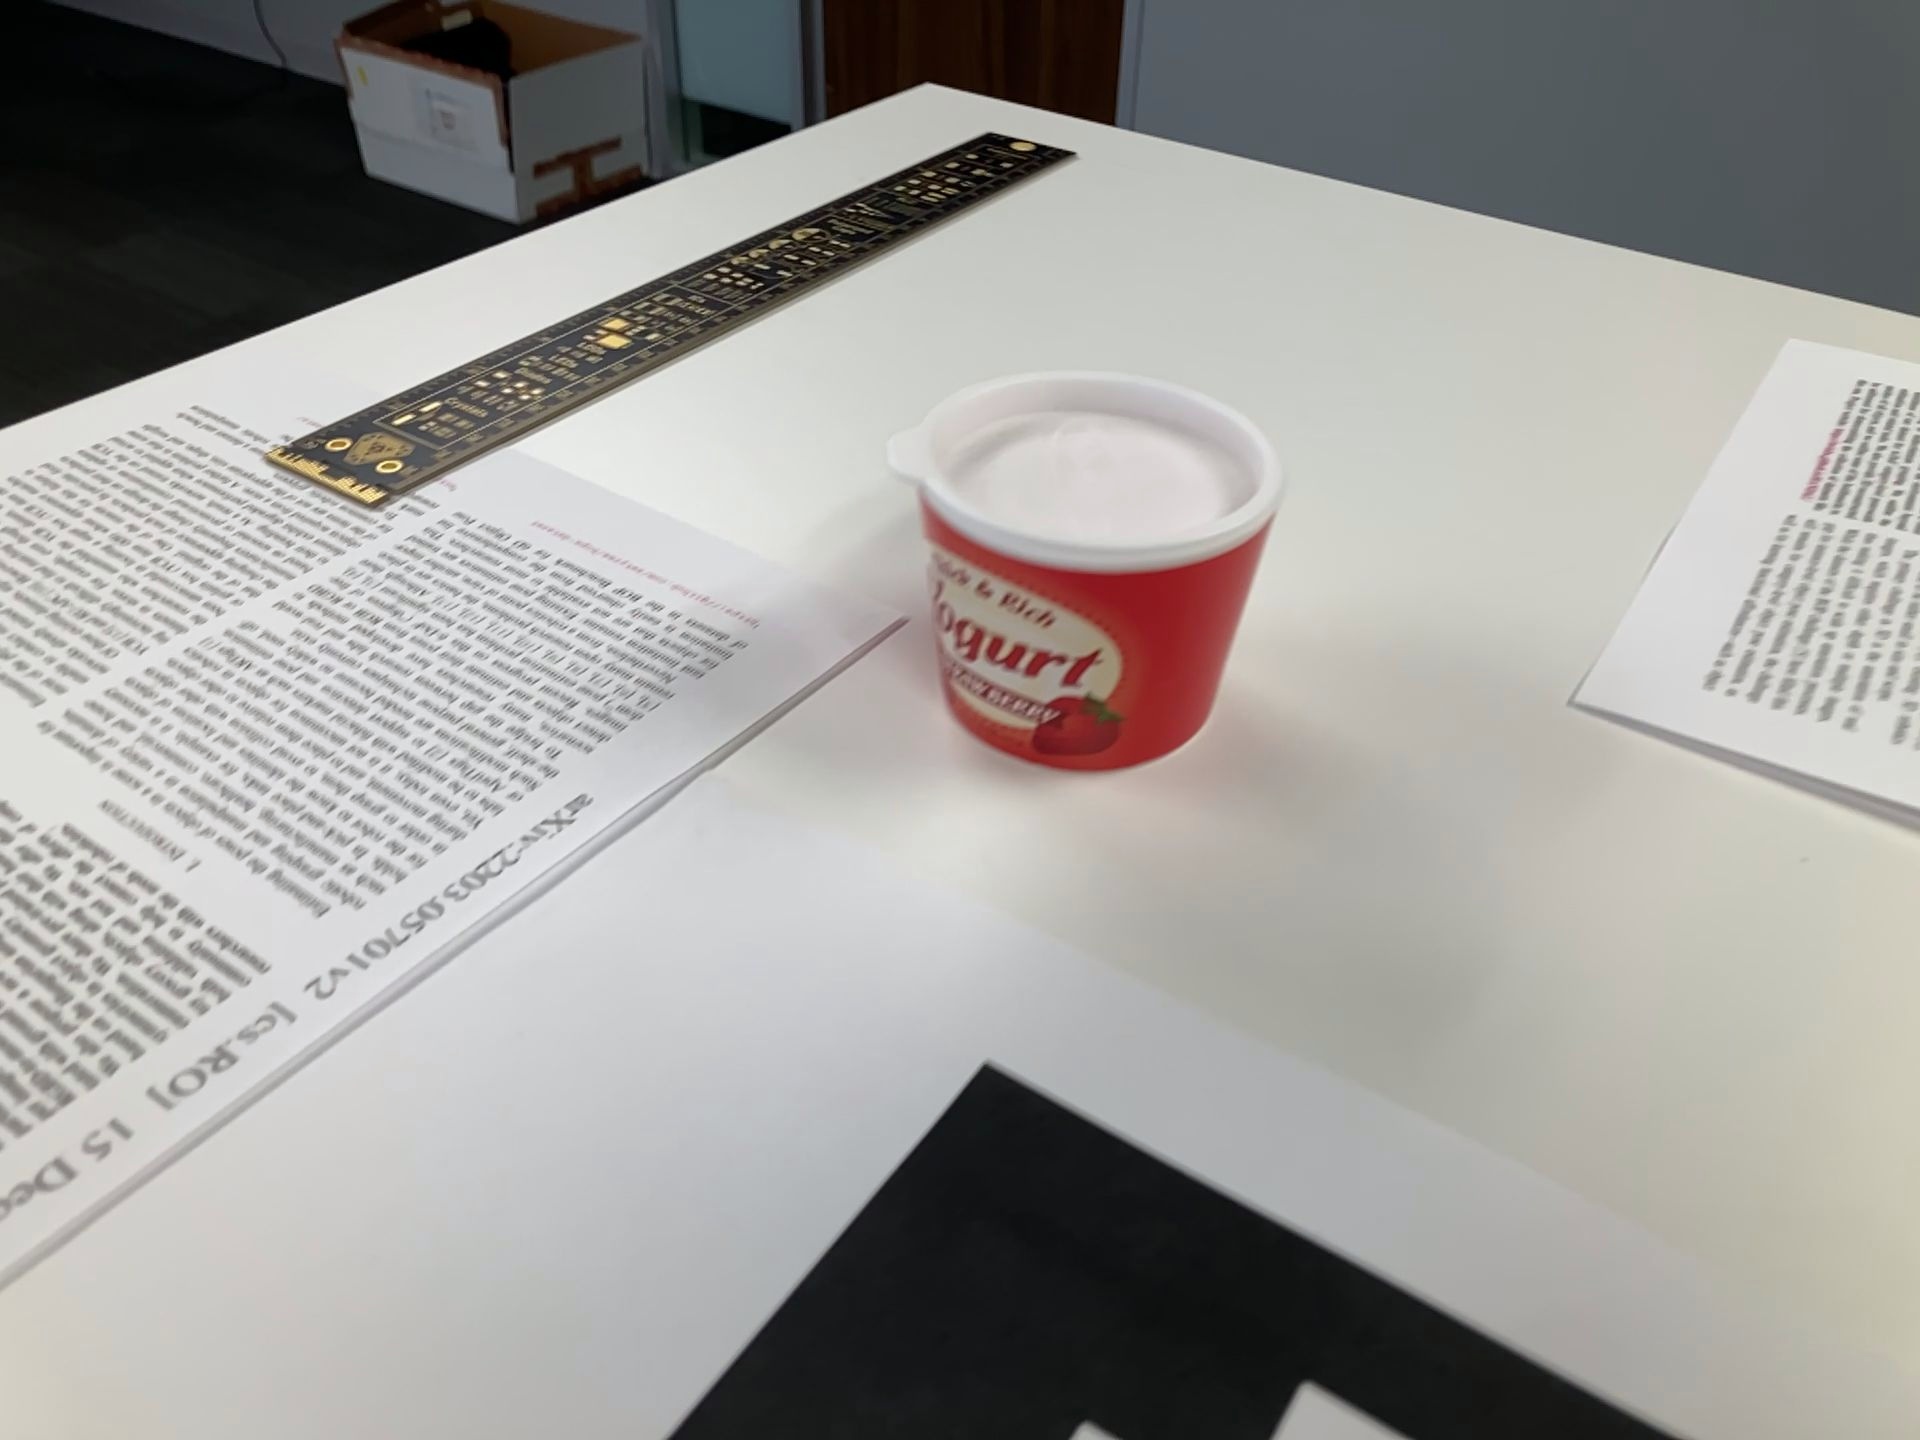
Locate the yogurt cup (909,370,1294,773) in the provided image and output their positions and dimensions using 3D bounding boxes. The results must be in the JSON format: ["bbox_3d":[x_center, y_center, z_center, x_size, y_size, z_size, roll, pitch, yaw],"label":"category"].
[{"bbox_3d":[0.024,-0.027,0.296,0.072,0.054,0.072,2,37,-2],"label":"yogurt cup"}]
